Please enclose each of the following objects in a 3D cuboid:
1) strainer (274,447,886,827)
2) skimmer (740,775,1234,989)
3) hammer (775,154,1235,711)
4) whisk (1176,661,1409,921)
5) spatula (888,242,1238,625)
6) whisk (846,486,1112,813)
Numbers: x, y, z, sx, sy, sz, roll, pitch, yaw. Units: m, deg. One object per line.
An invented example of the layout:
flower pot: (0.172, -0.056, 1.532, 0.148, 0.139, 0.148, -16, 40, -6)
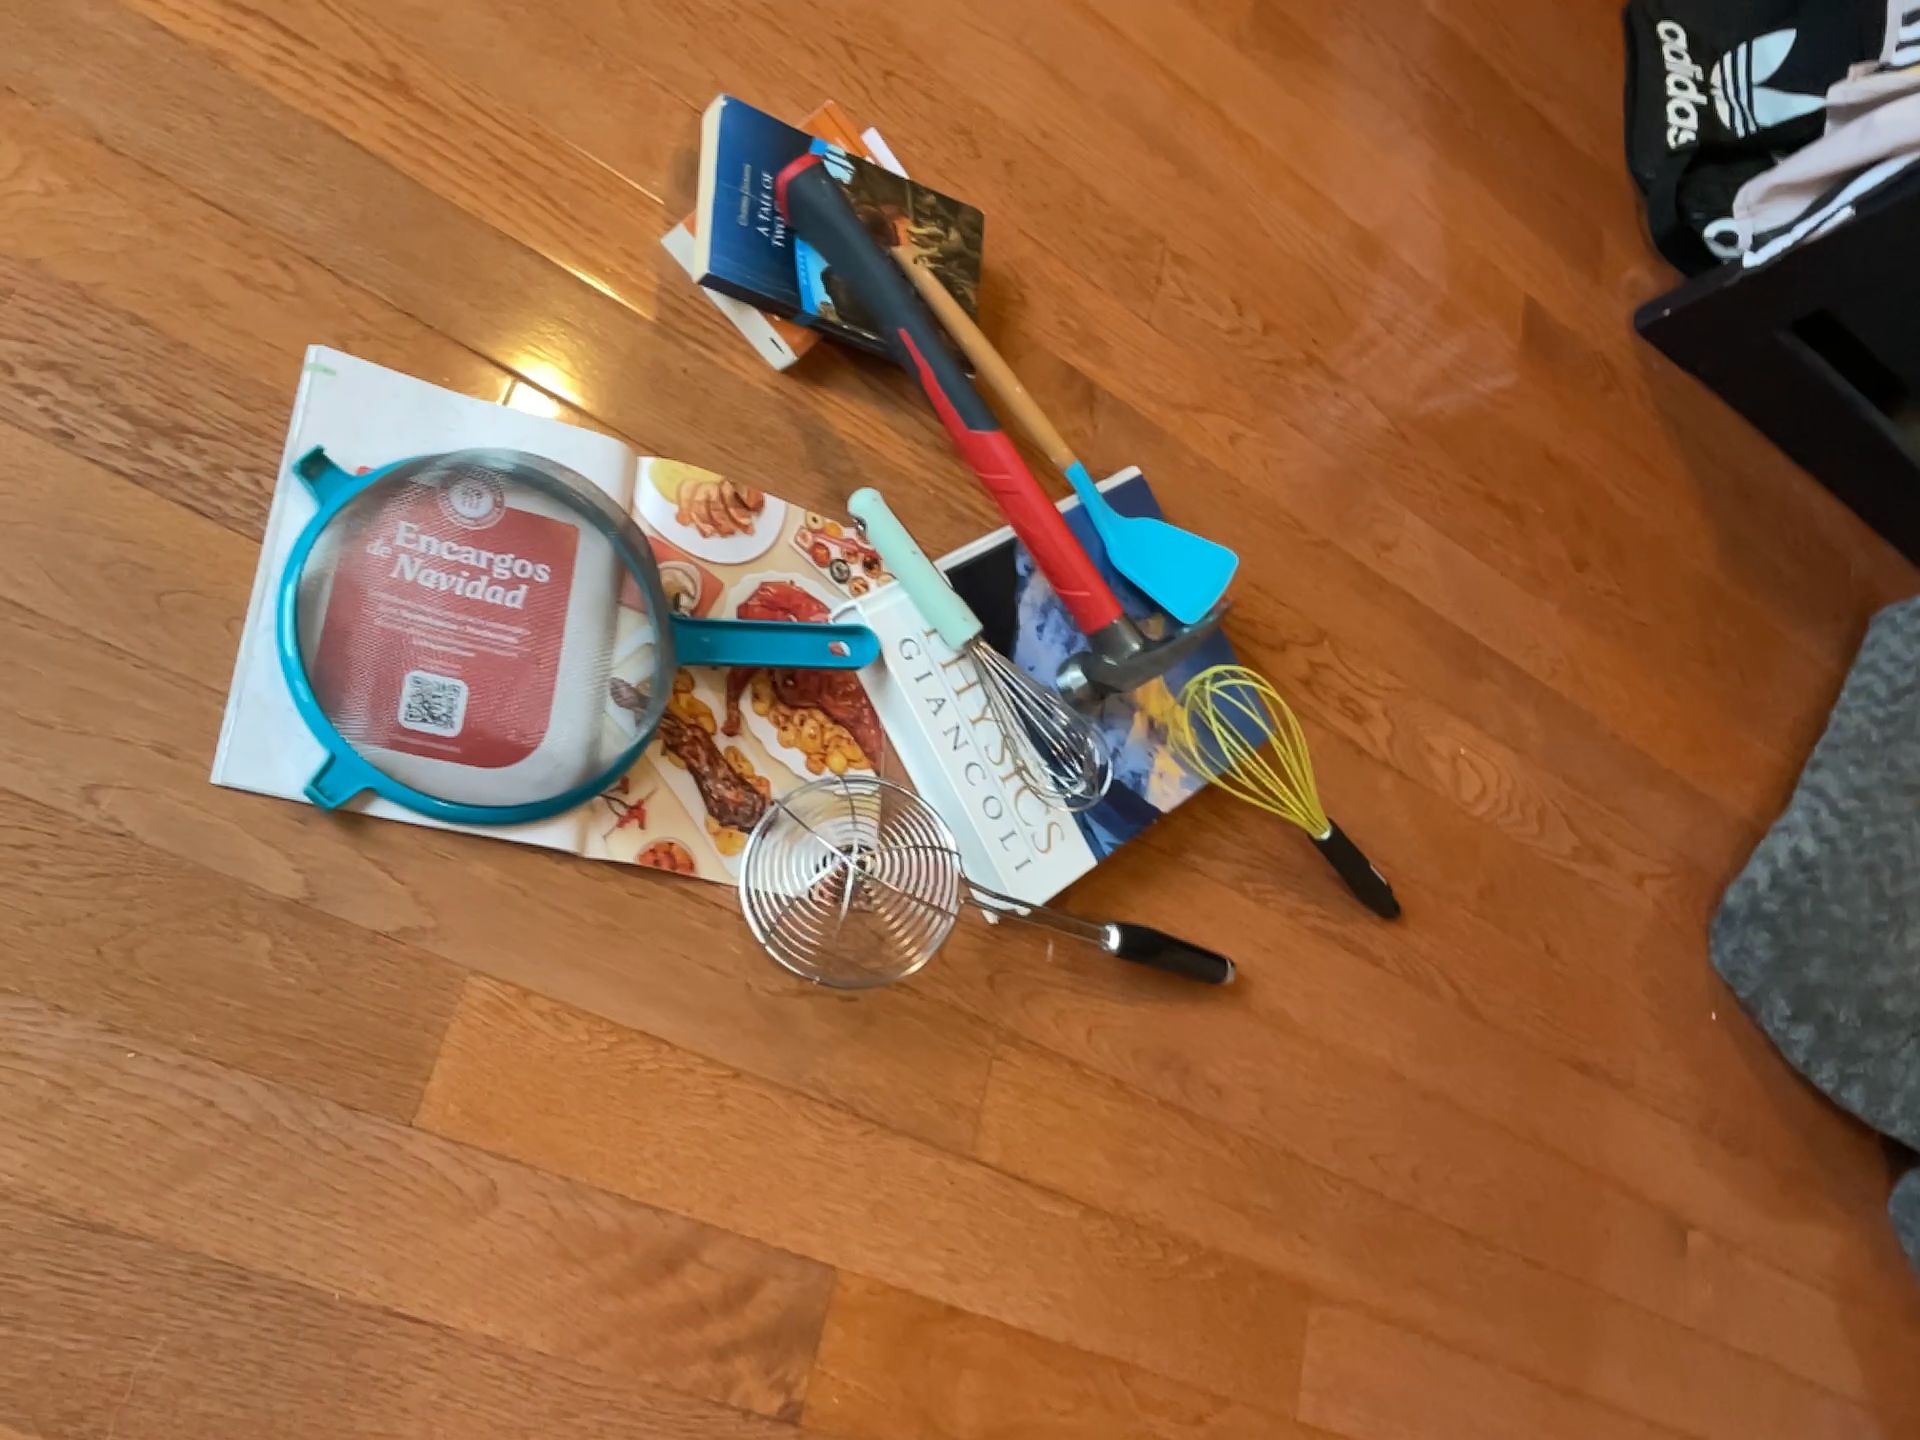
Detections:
strainer: (-0.182, -0.056, 0.859, 0.340, 0.095, 0.211, 0, 74, -28)
skimmer: (0.032, 0.129, 1.004, 0.363, 0.090, 0.127, 22, 61, -40)
hammer: (0.016, -0.189, 0.989, 0.038, 0.143, 0.386, -38, 96, -40)
whisk: (0.245, 0.064, 1.137, 0.311, 0.067, 0.080, 43, 39, -34)
spatula: (0.063, -0.197, 1.074, 0.317, 0.044, 0.082, 49, 56, -13)
whisk: (0.010, -0.045, 0.992, 0.059, 0.058, 0.246, -38, 94, -6)
